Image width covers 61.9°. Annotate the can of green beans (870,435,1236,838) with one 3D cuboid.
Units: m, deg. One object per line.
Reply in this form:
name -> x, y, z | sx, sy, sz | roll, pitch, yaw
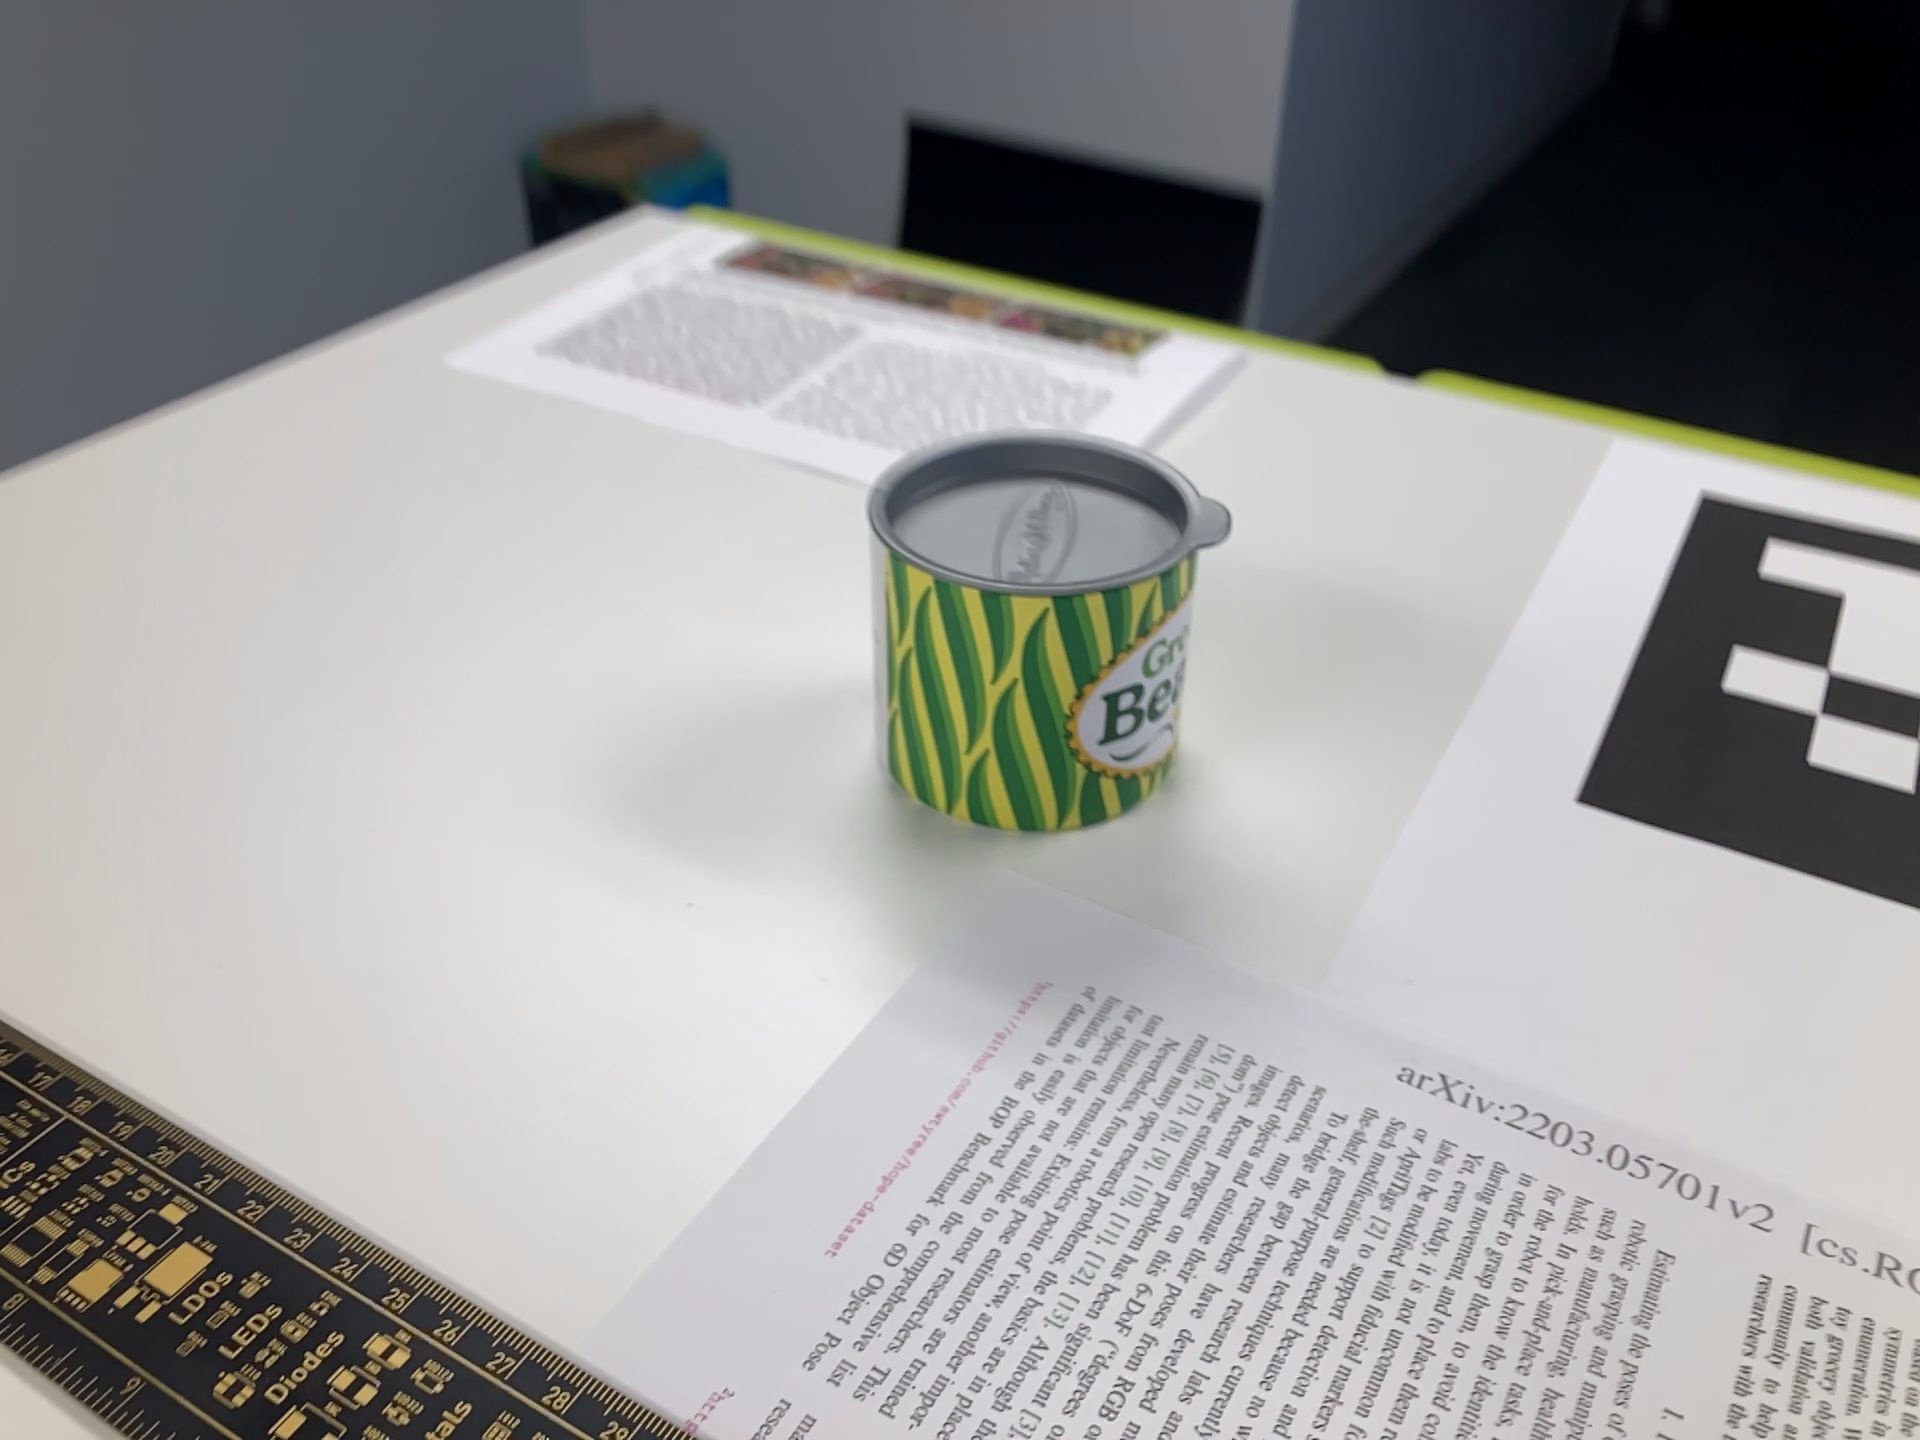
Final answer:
can of green beans -> 0.015, -0.018, 0.329 | 0.071, 0.058, 0.071 | 0, 36, 0
